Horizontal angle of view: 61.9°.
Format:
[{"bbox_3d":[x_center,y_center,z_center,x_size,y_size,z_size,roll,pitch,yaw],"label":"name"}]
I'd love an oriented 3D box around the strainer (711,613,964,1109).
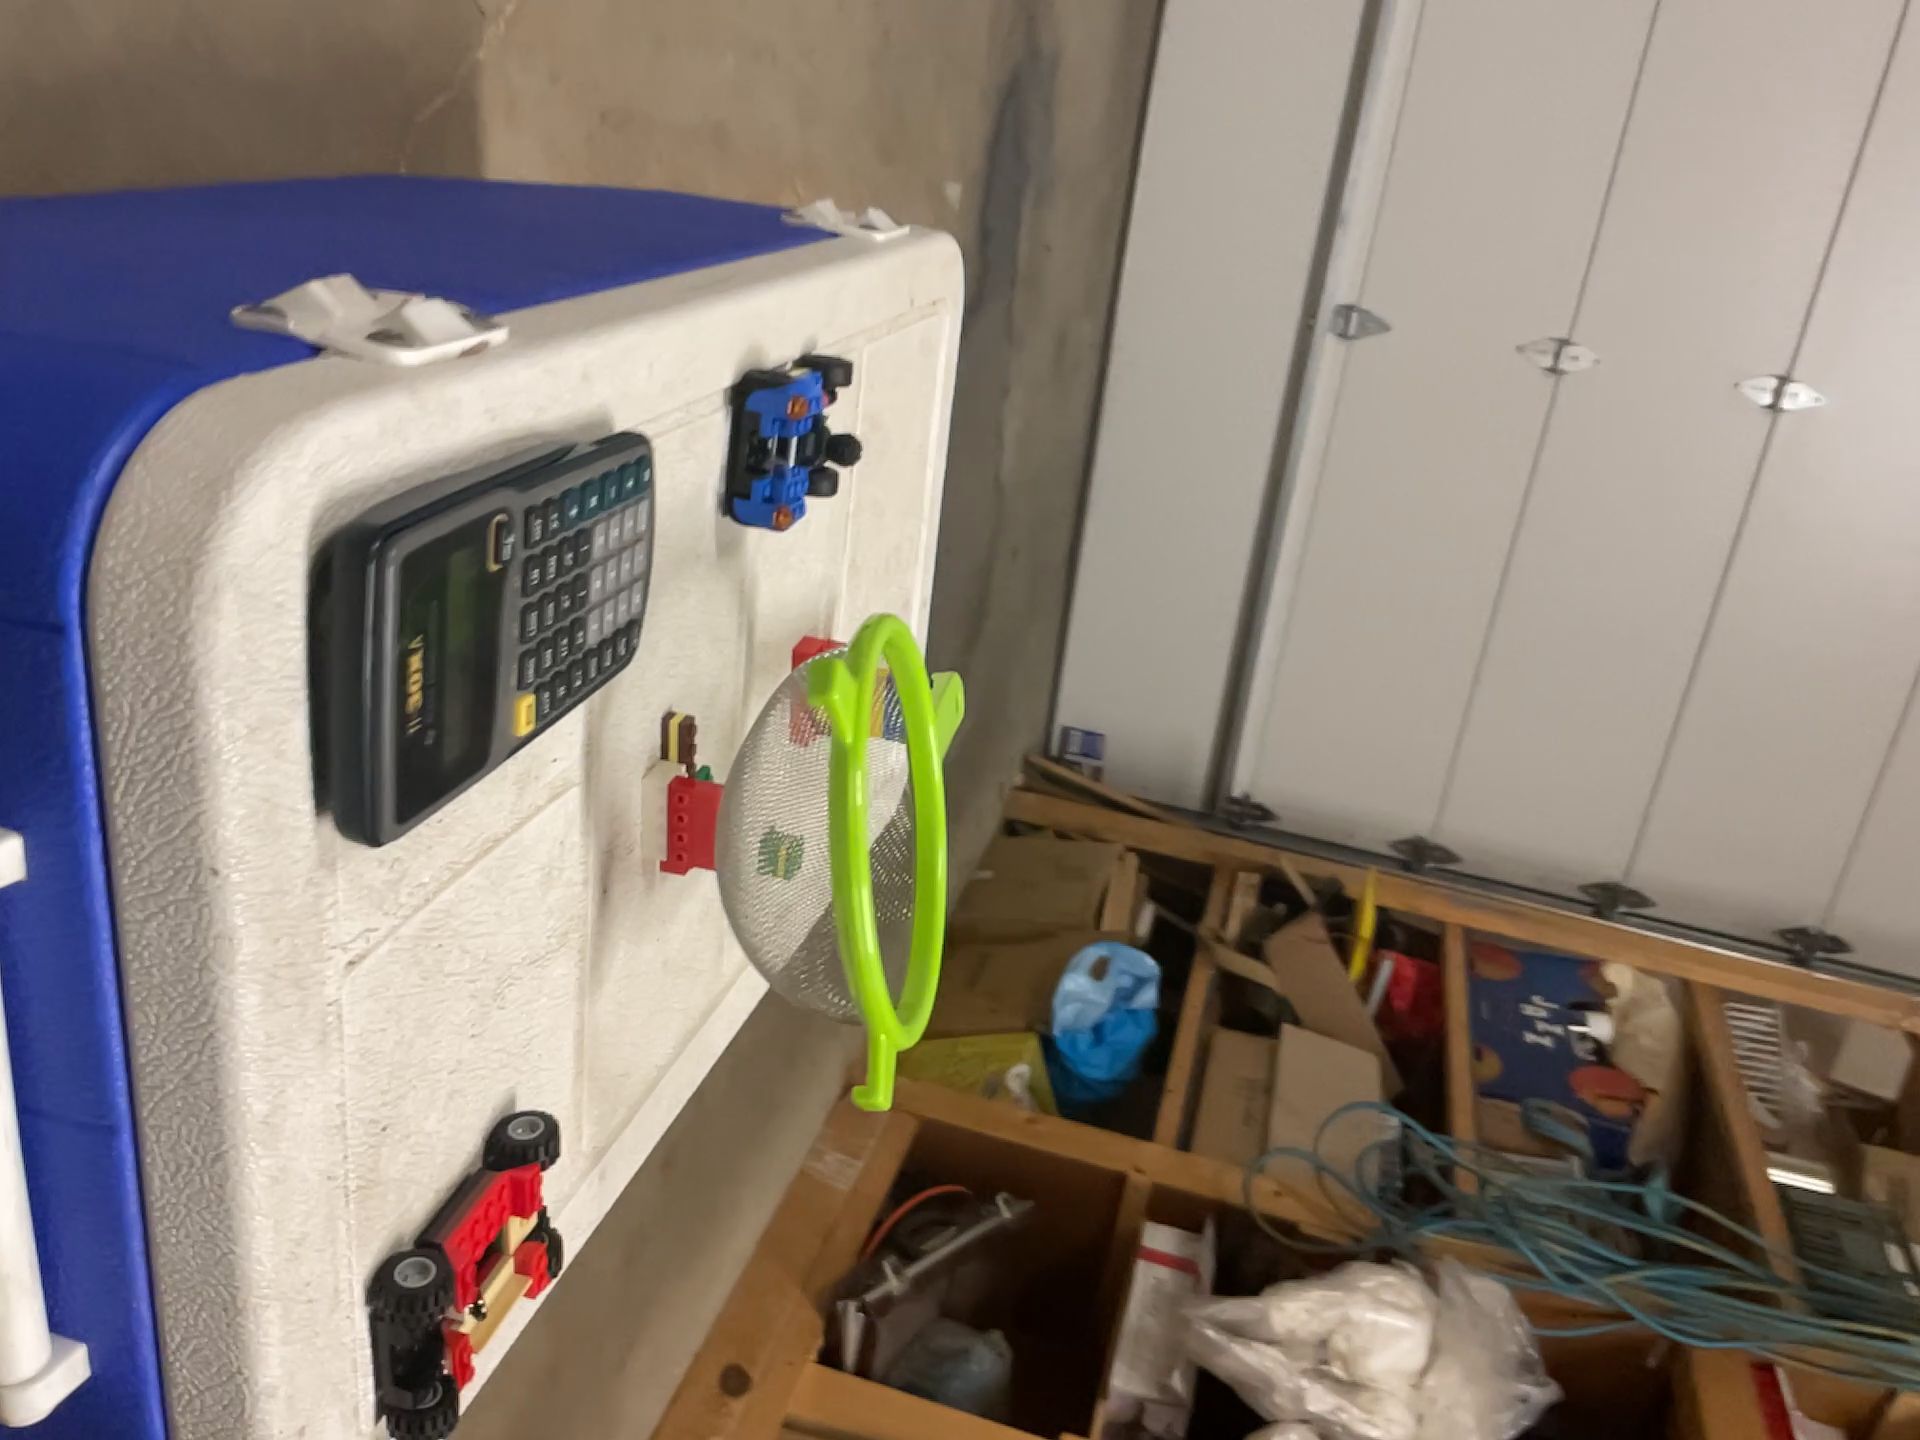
[{"bbox_3d":[-0.043,0.024,0.611,0.256,0.069,0.151,-69,154,-72],"label":"strainer"}]
